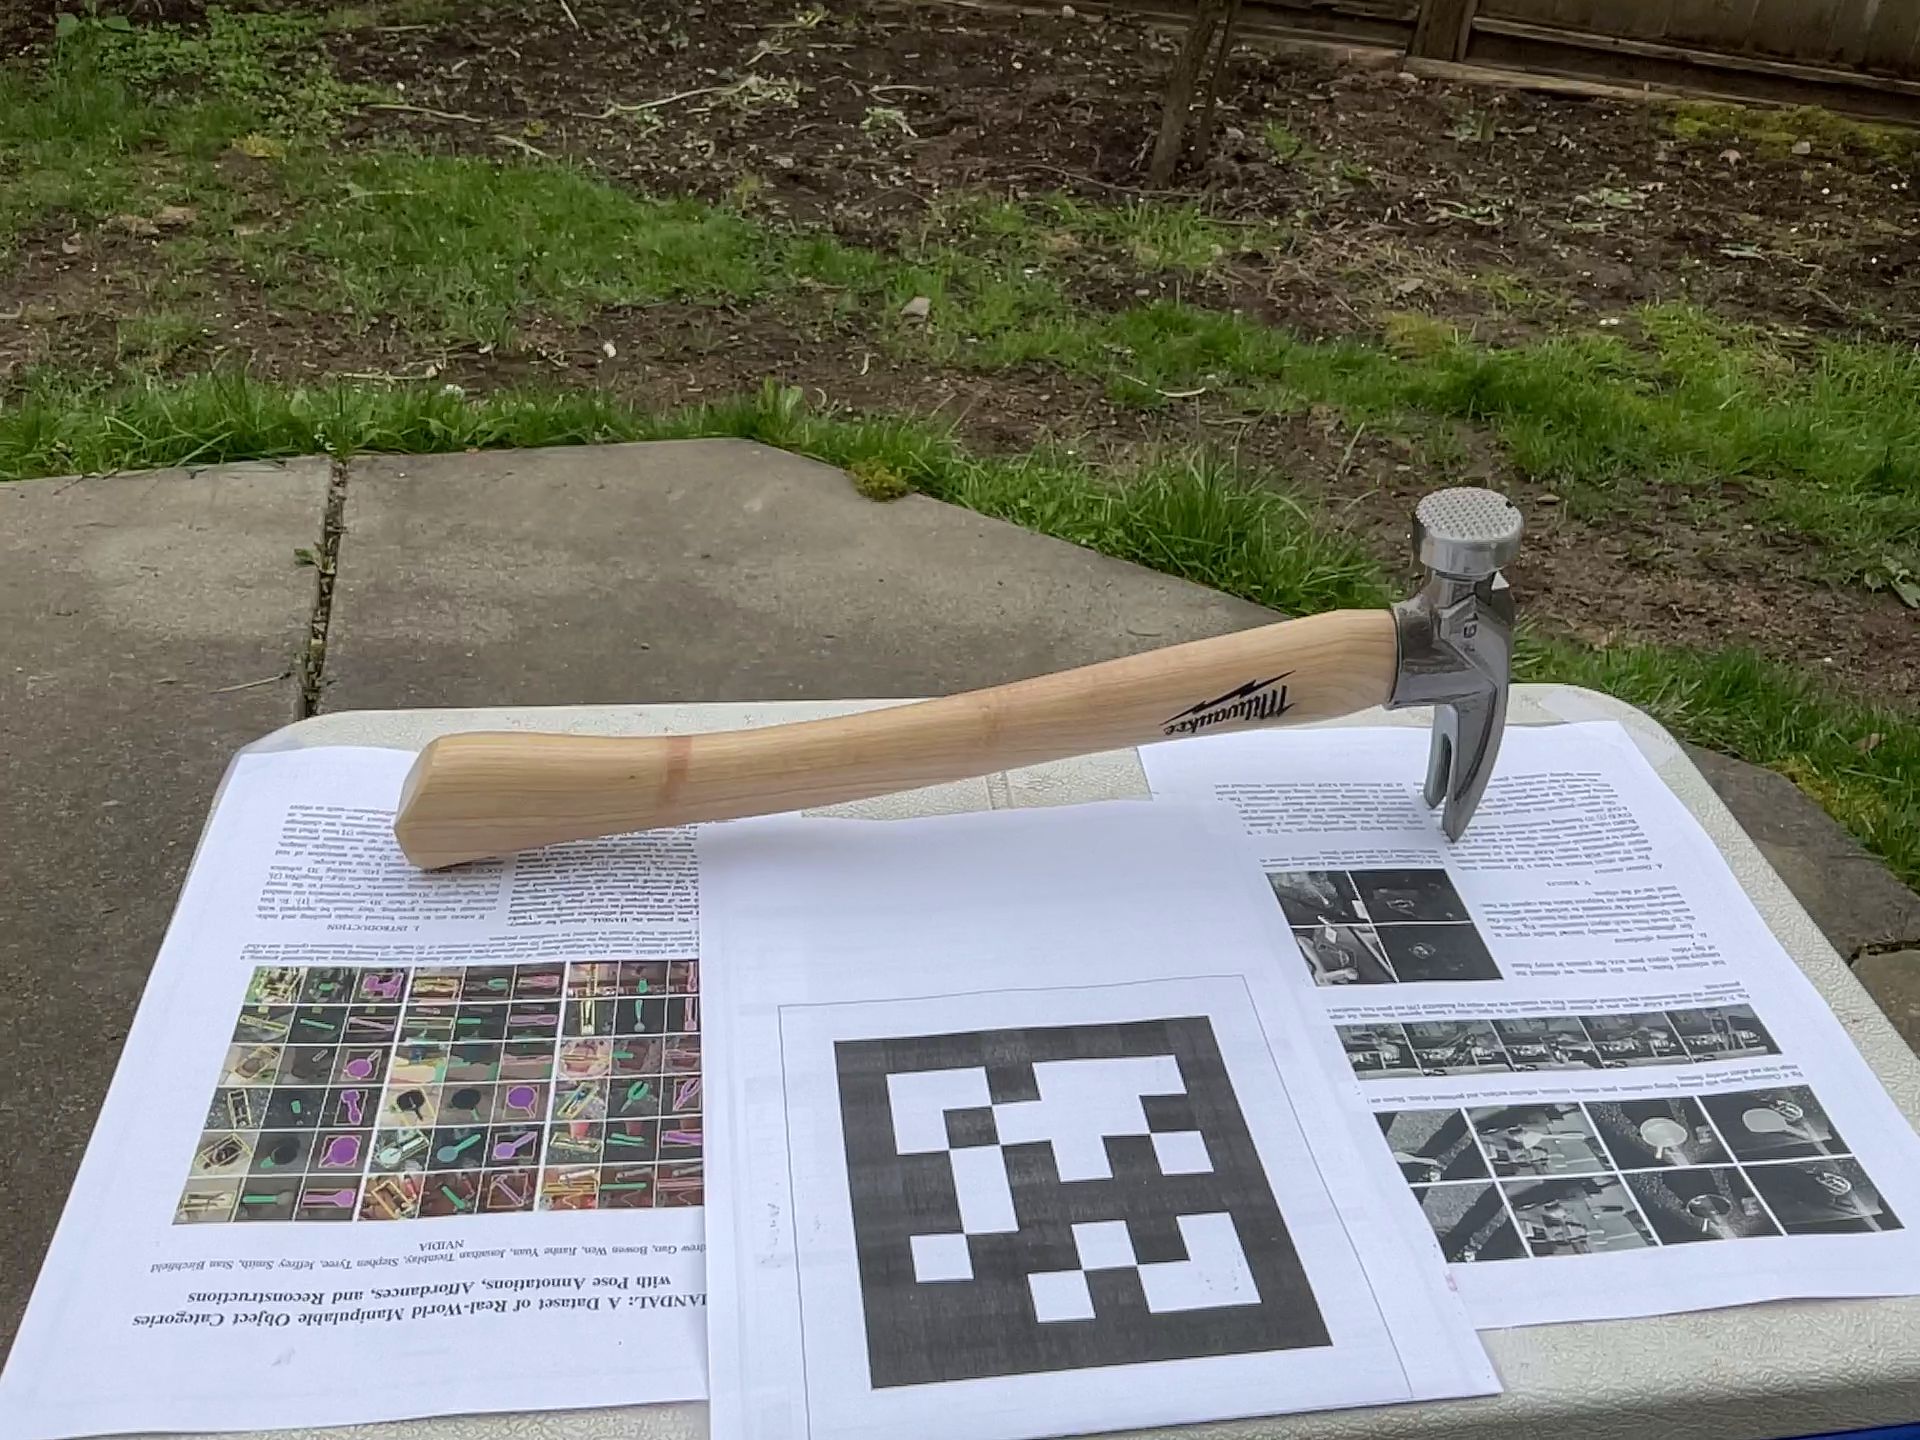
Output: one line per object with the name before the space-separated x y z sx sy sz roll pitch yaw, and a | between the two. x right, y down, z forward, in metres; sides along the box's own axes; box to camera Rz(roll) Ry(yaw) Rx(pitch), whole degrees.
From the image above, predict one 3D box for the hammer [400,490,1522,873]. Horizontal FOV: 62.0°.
hammer | 0.003 0.014 0.601 0.410 0.146 0.038 -9 38 -2
